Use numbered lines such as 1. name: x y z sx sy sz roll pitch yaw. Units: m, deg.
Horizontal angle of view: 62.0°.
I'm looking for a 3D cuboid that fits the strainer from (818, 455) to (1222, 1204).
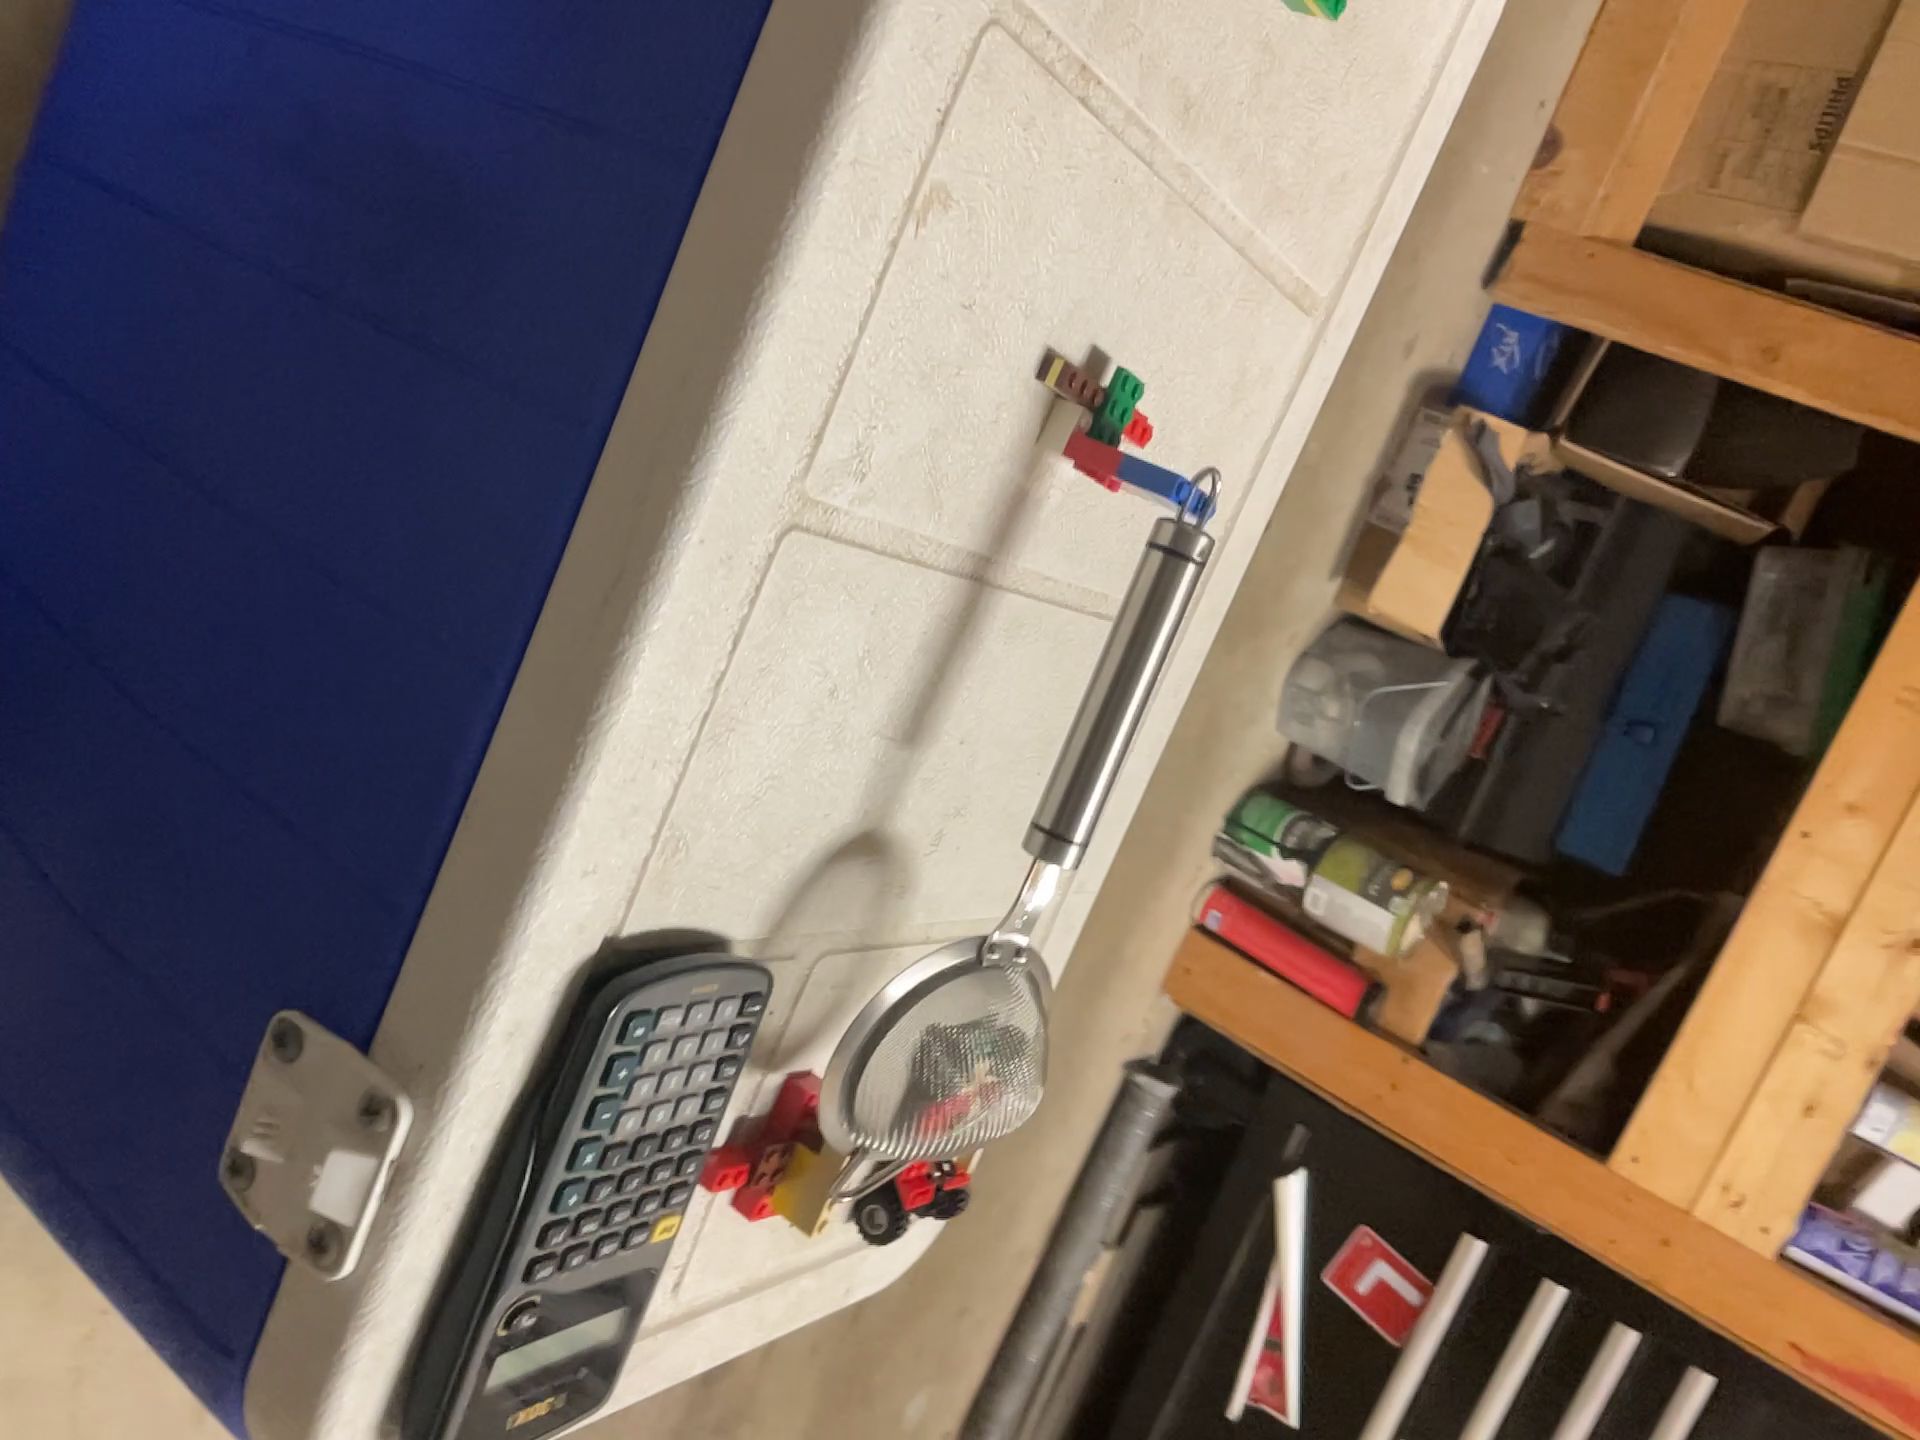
1. strainer: 0.025 0.042 0.476 0.086 0.050 0.258 15 100 -45
